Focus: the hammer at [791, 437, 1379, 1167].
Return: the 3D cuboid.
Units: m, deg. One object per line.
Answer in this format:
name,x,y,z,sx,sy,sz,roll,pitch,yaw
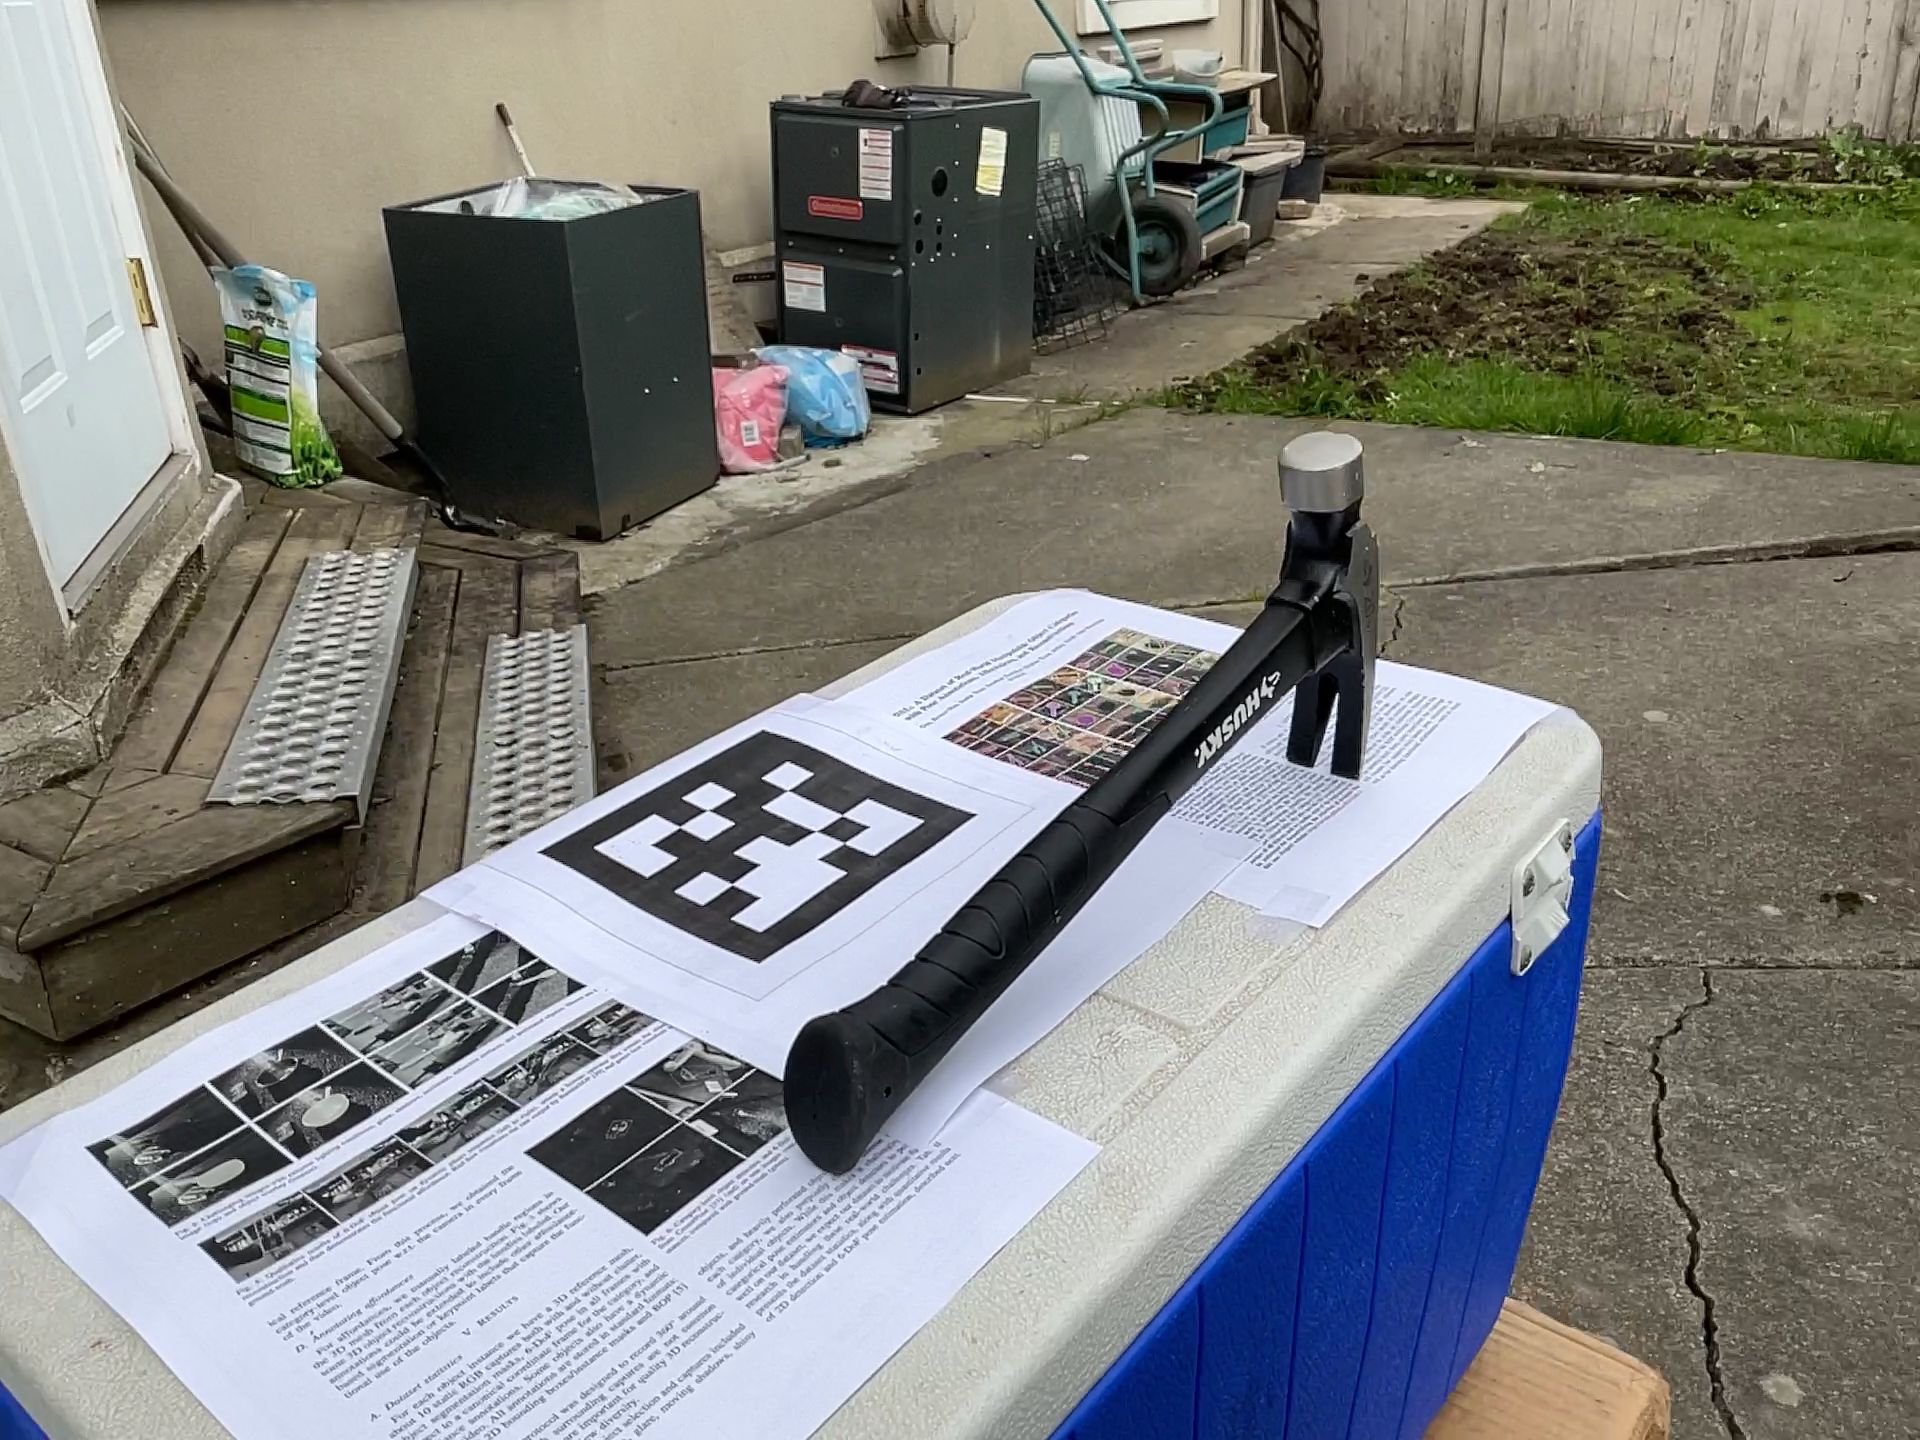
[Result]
hammer,0.061,0.036,0.577,0.035,0.146,0.334,17,44,37
